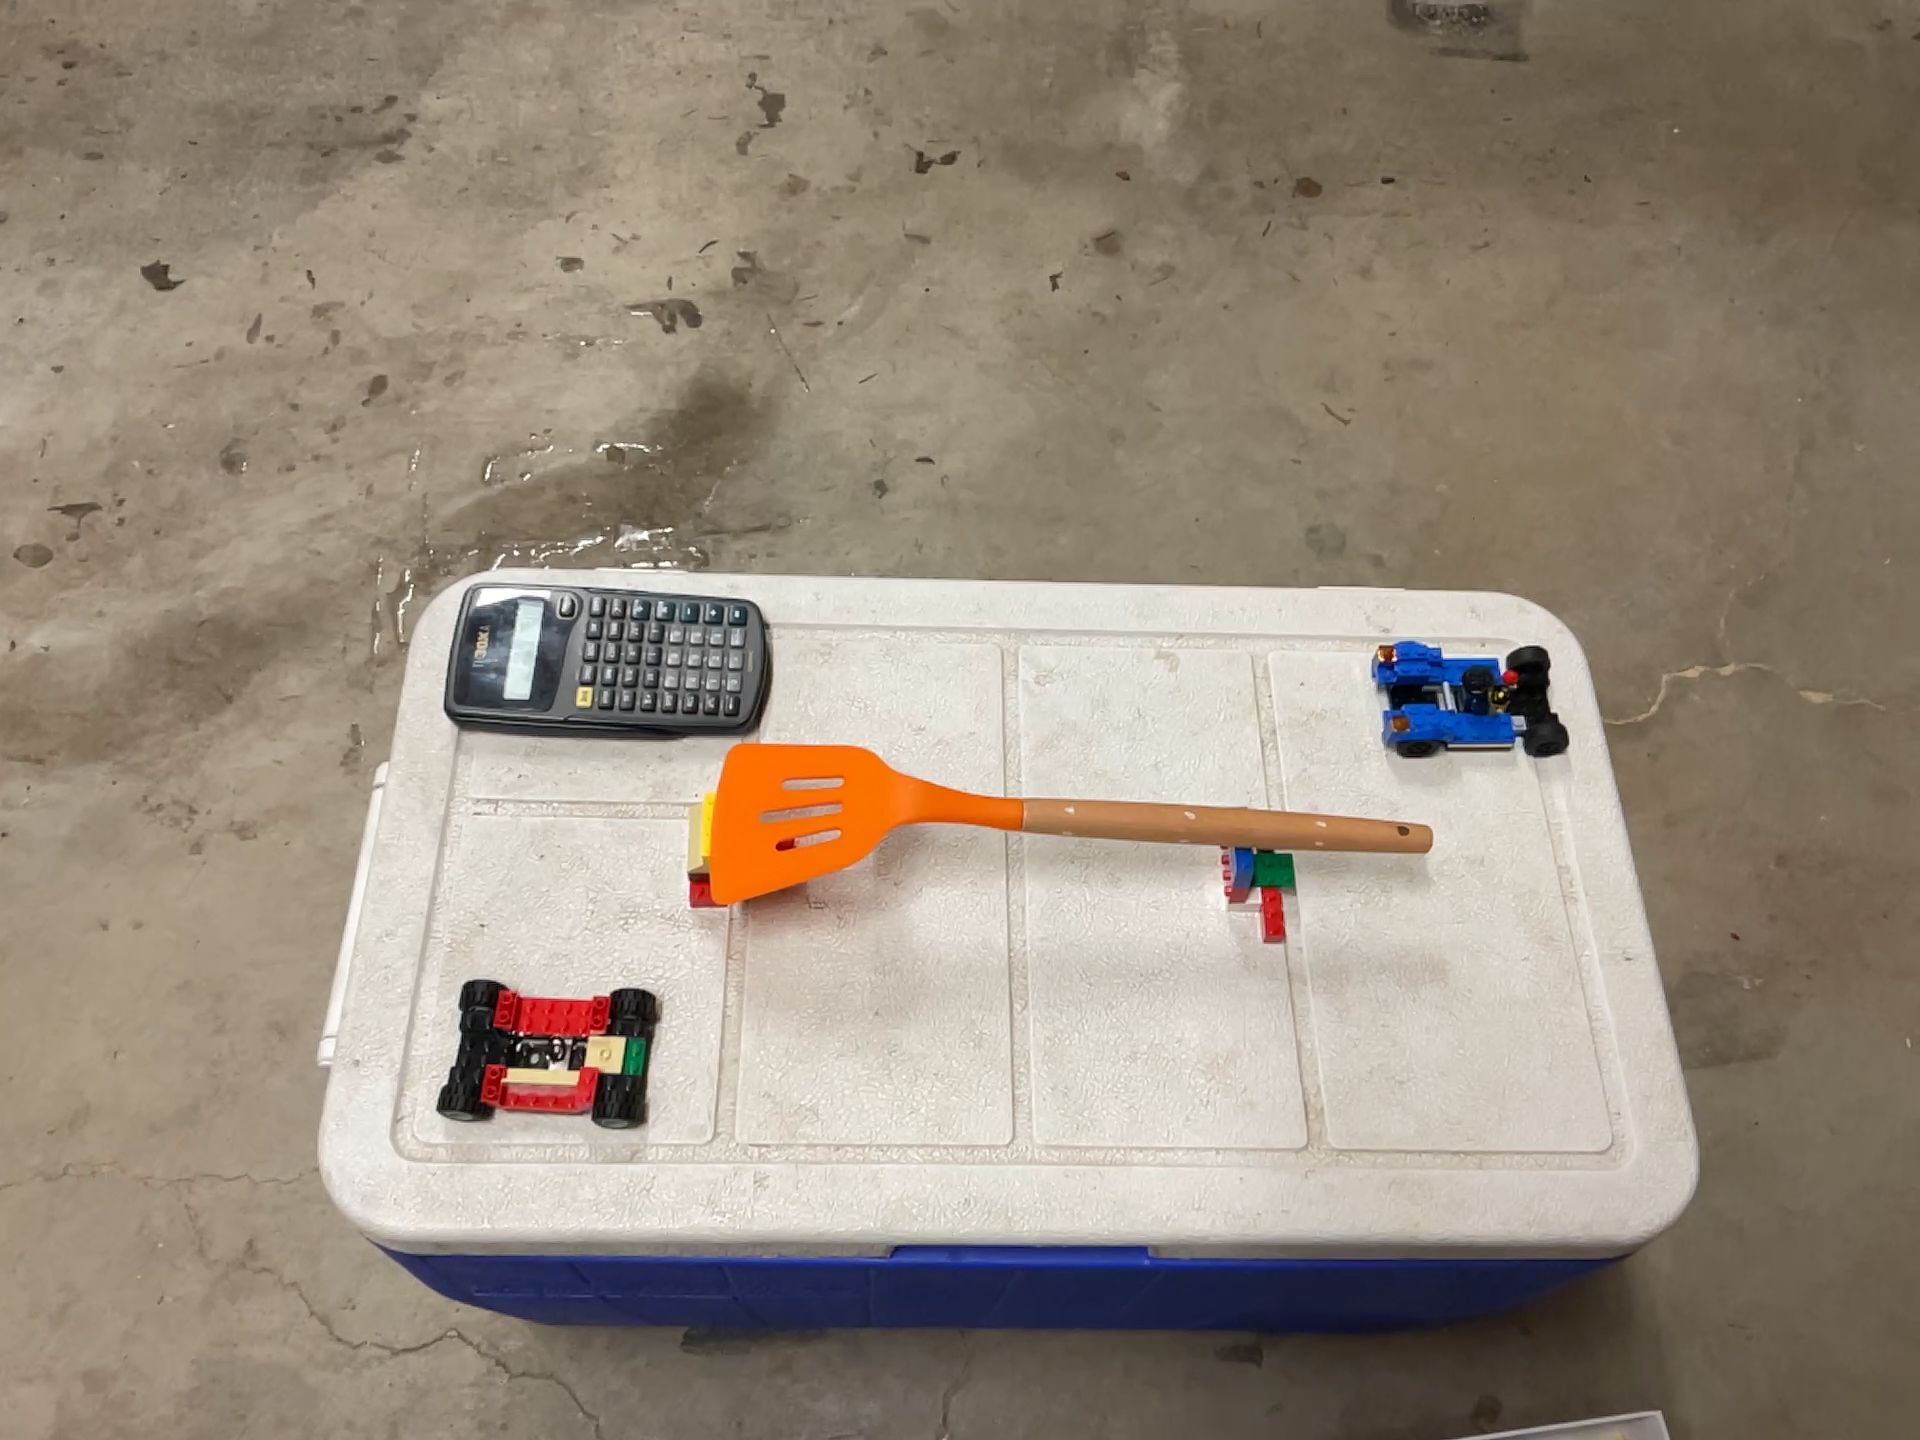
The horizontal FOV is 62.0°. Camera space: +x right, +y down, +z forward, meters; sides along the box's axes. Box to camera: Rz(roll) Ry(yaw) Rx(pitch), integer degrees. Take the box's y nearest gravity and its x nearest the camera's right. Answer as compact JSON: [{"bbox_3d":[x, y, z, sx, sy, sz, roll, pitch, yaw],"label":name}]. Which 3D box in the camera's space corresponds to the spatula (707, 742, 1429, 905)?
[{"bbox_3d":[0.049,0.048,0.717,0.322,0.041,0.081,4,60,-5],"label":"spatula"}]
